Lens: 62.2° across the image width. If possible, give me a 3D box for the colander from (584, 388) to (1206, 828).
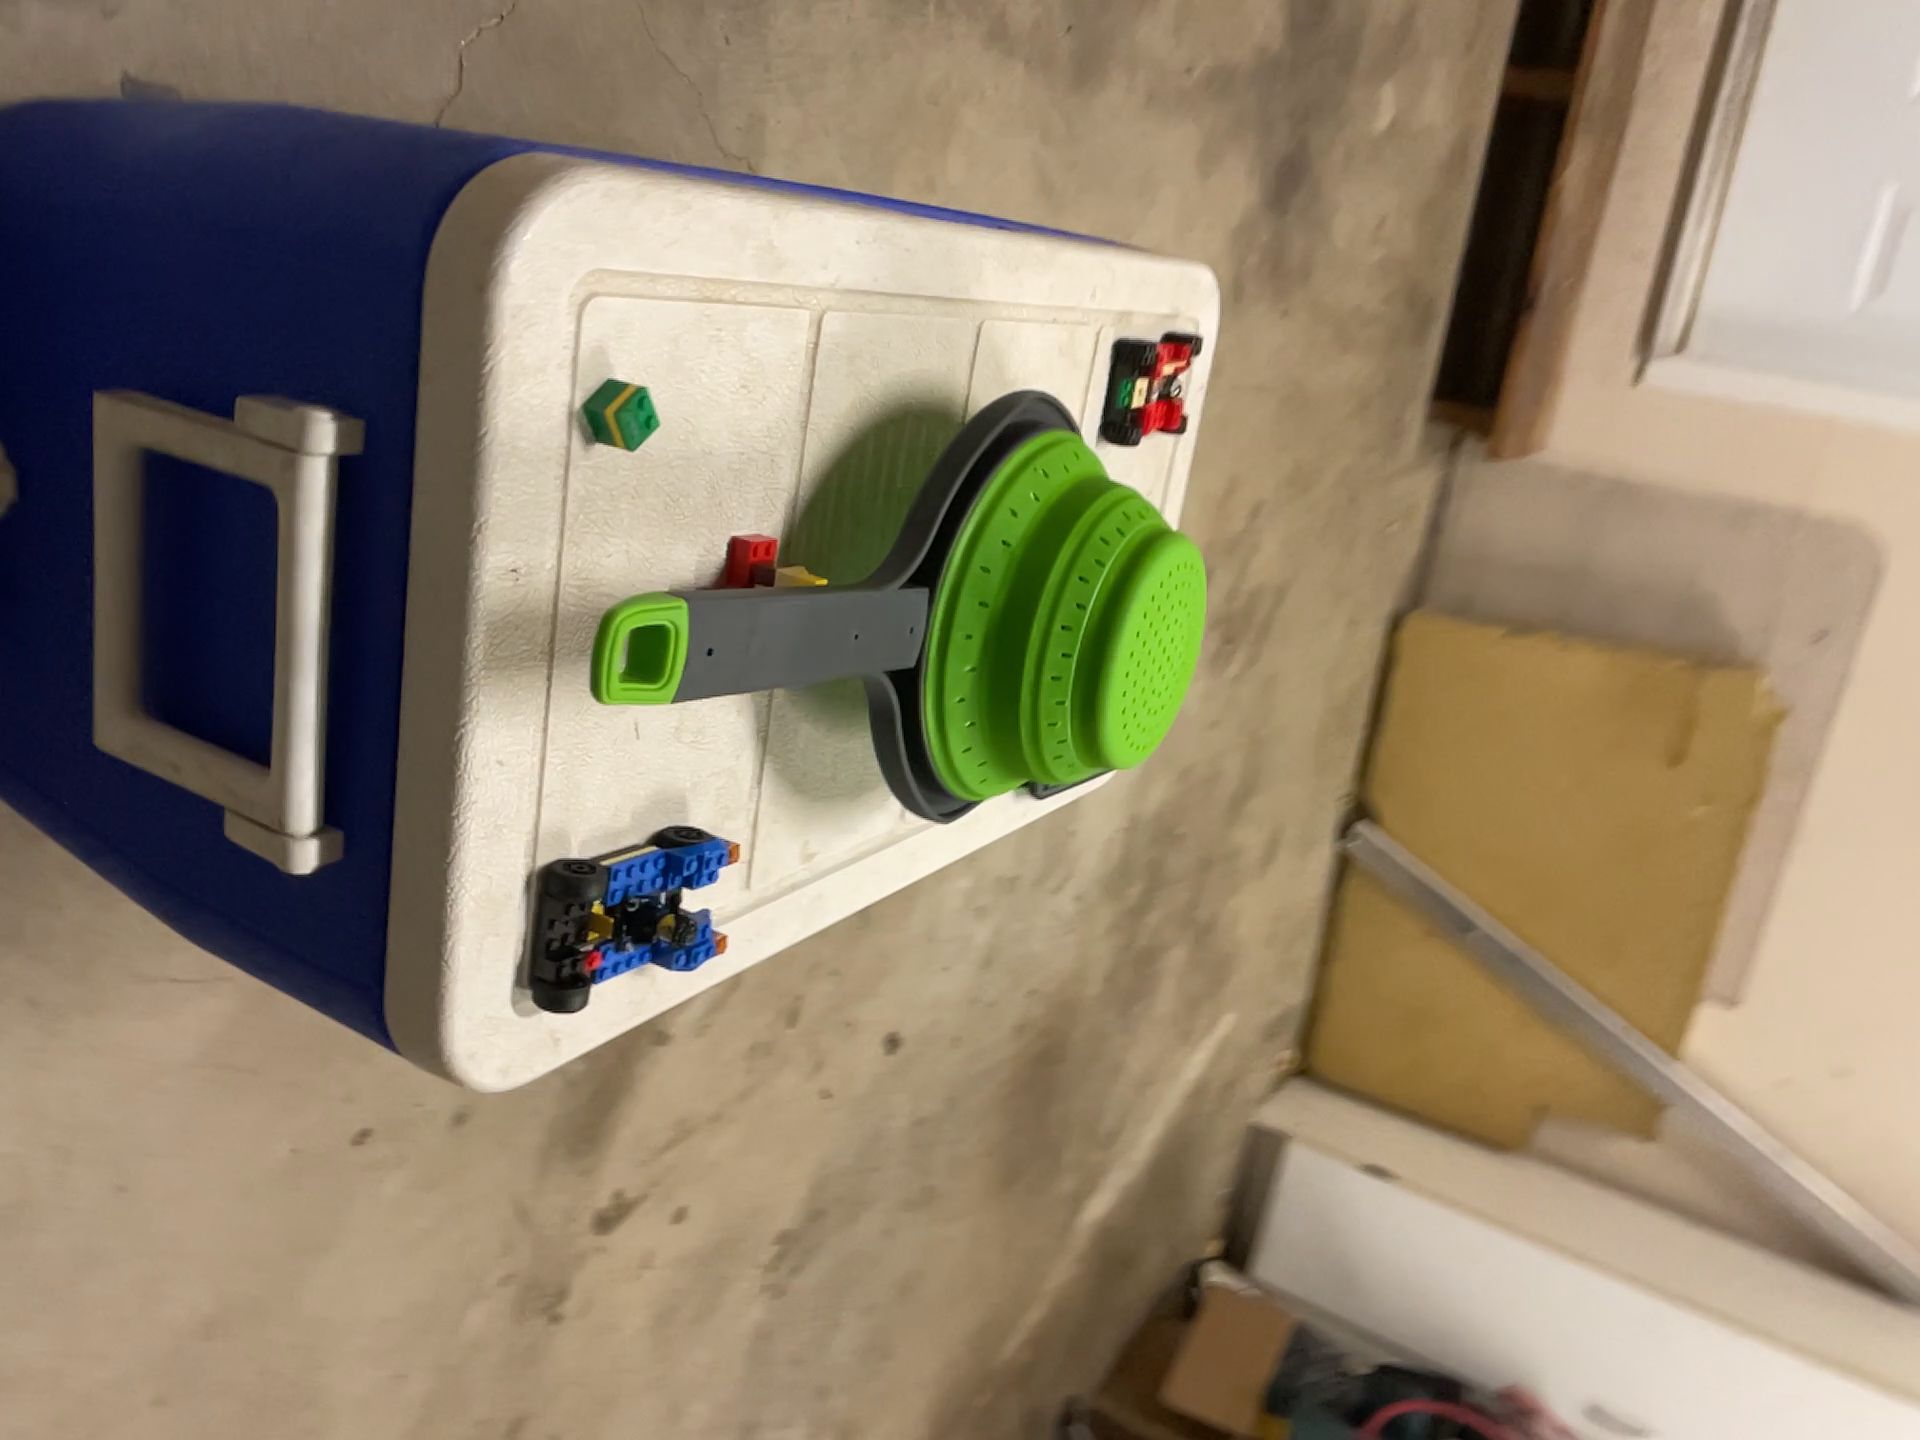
[{"bbox_3d":[0.010,-0.031,0.646,0.397,0.094,0.204,-12,116,-61],"label":"colander"}]
